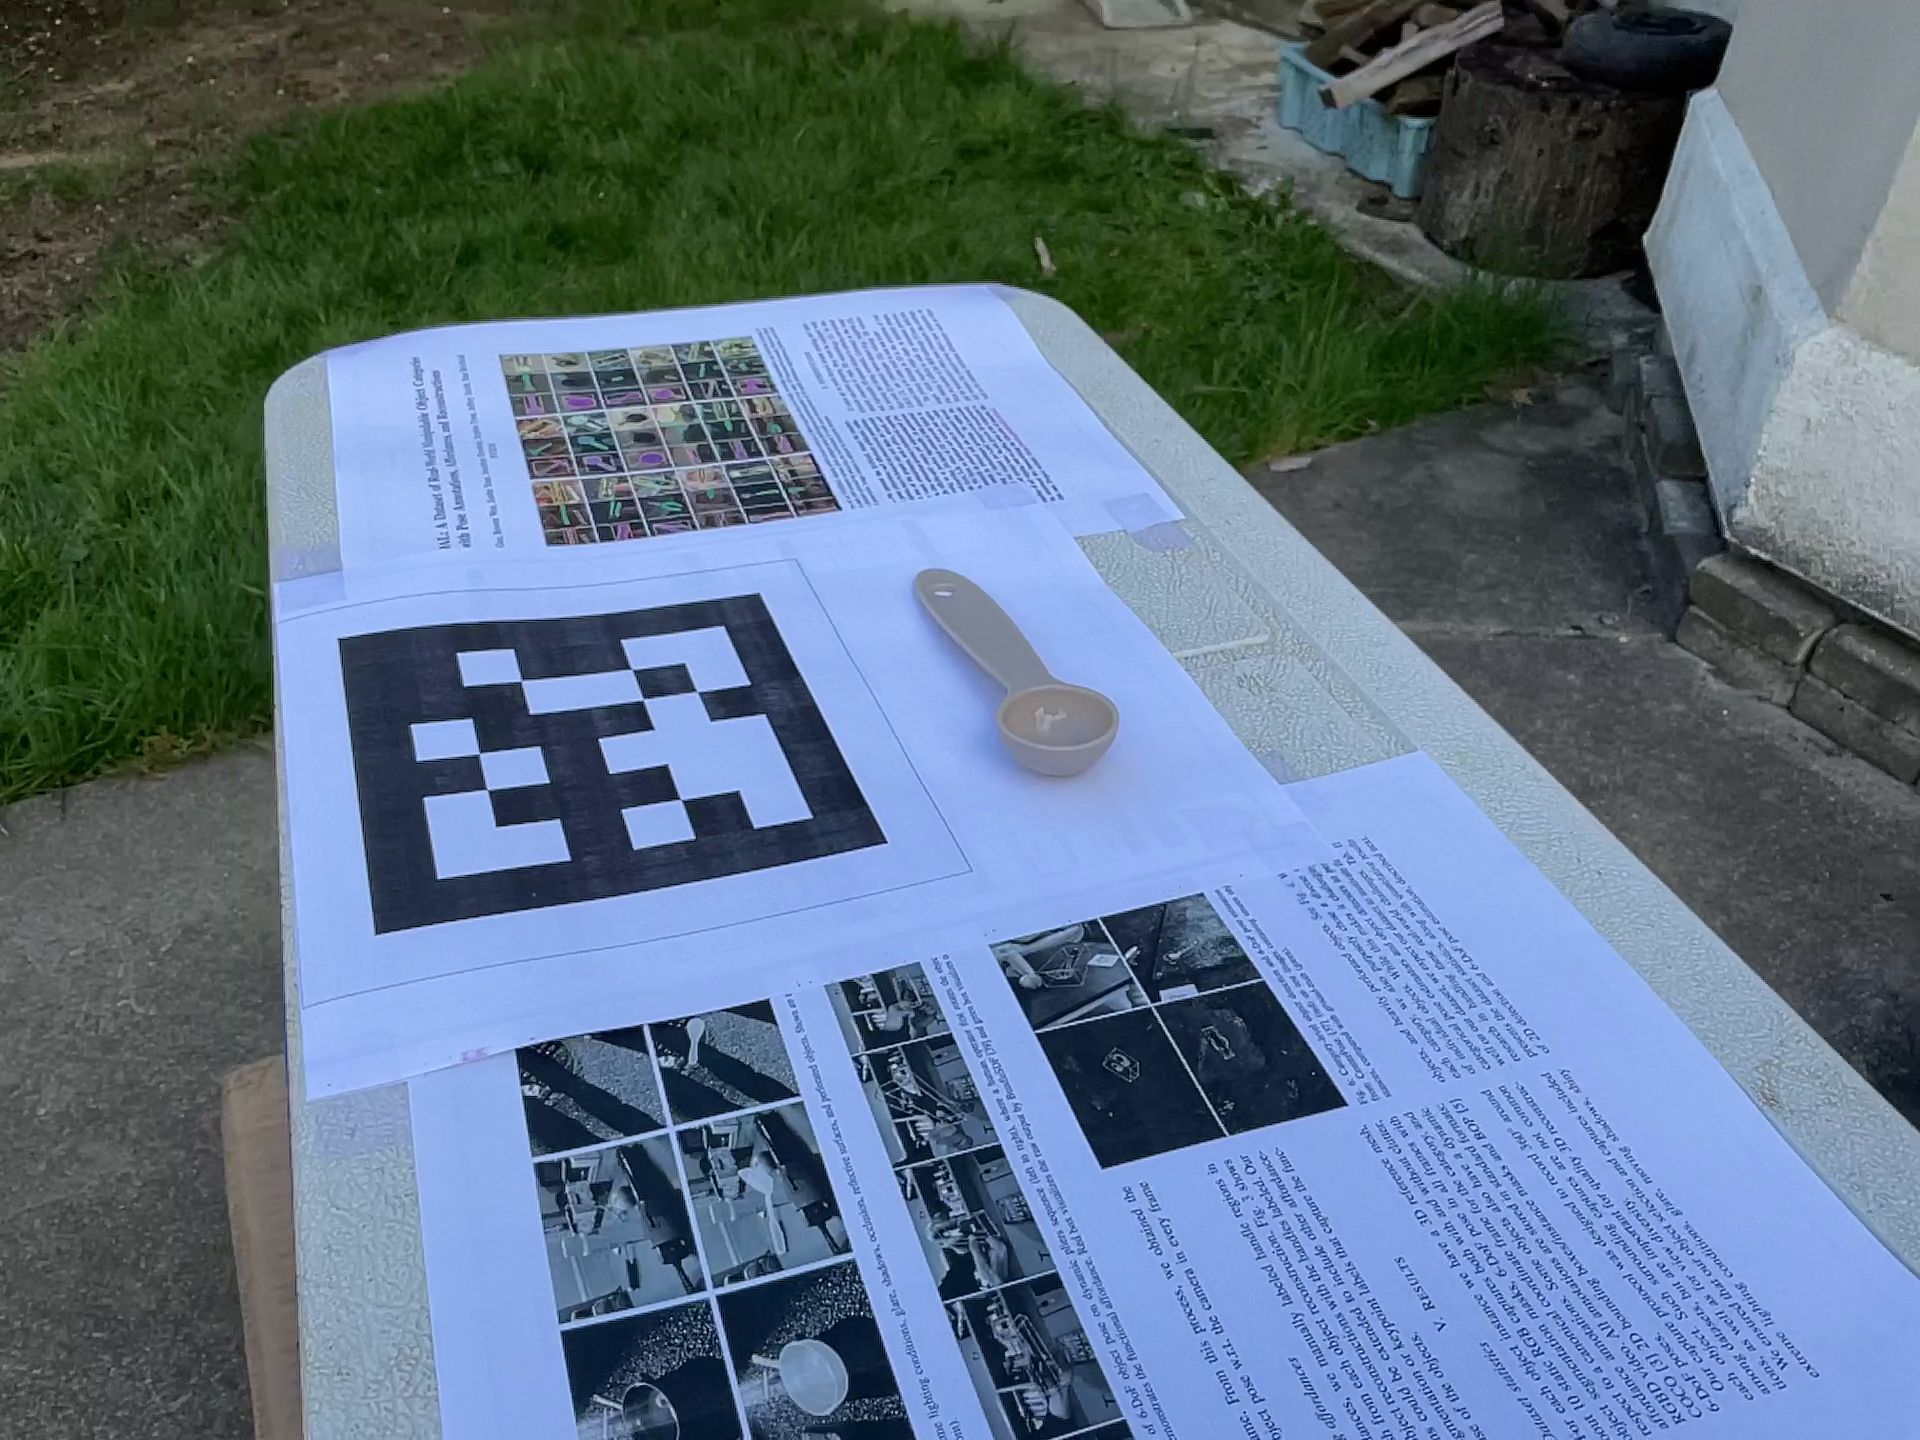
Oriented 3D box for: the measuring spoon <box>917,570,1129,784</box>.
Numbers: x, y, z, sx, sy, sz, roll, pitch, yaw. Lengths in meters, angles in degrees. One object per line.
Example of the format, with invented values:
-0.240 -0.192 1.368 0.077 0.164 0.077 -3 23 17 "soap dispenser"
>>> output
0.013 -0.014 0.471 0.034 0.018 0.124 -12 32 -17 "measuring spoon"
